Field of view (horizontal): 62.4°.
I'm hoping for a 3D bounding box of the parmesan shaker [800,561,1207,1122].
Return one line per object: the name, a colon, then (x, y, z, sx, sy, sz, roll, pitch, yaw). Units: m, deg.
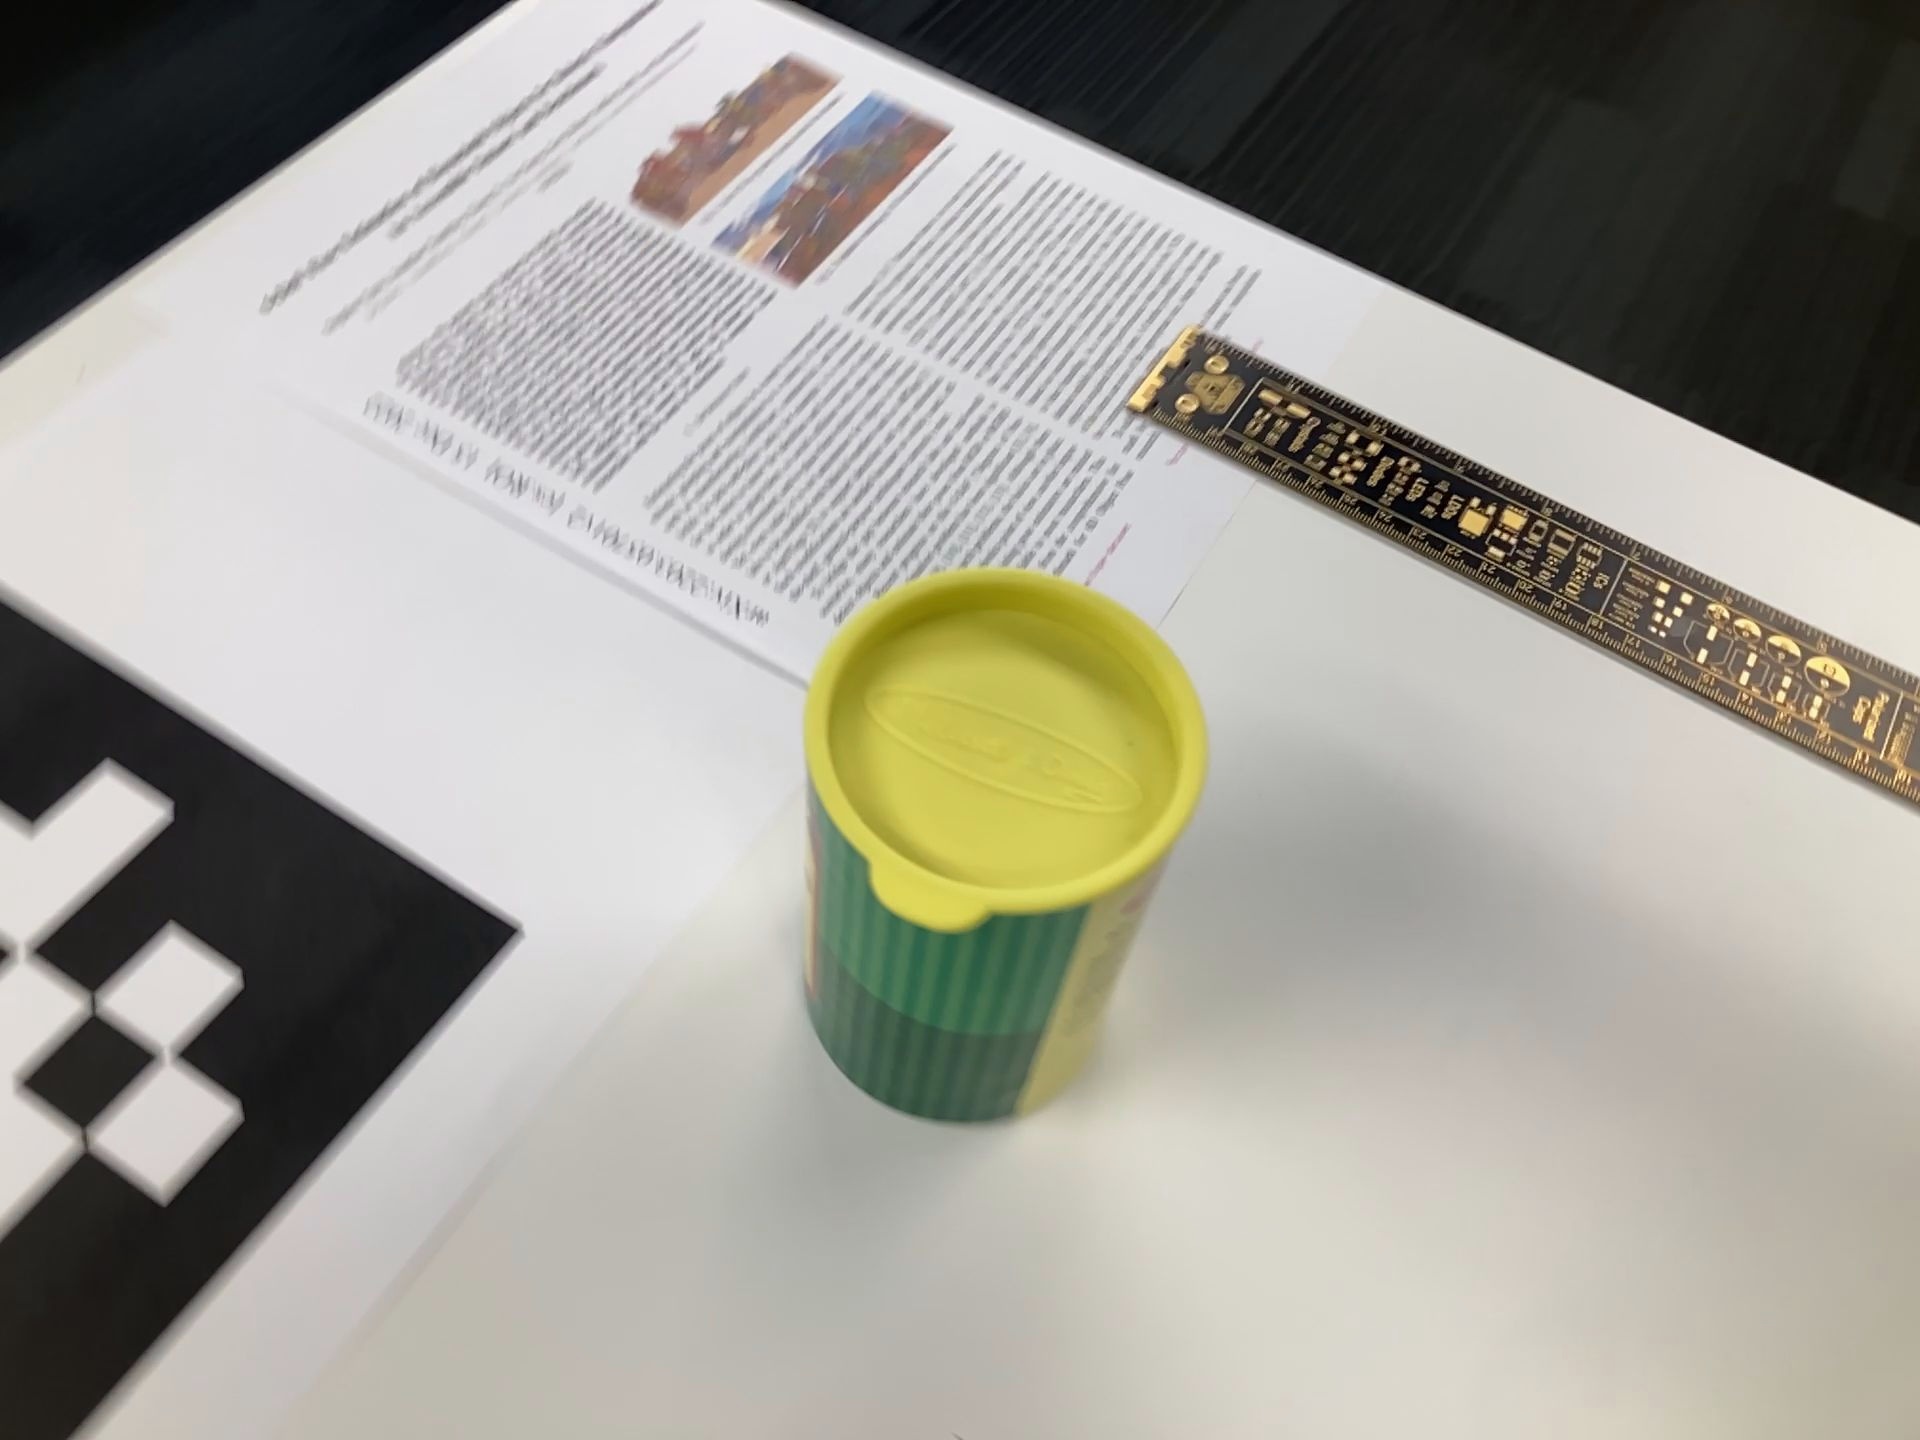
parmesan shaker: (0.001, 0.030, 0.298, 0.071, 0.103, 0.071, 3, 56, -4)
